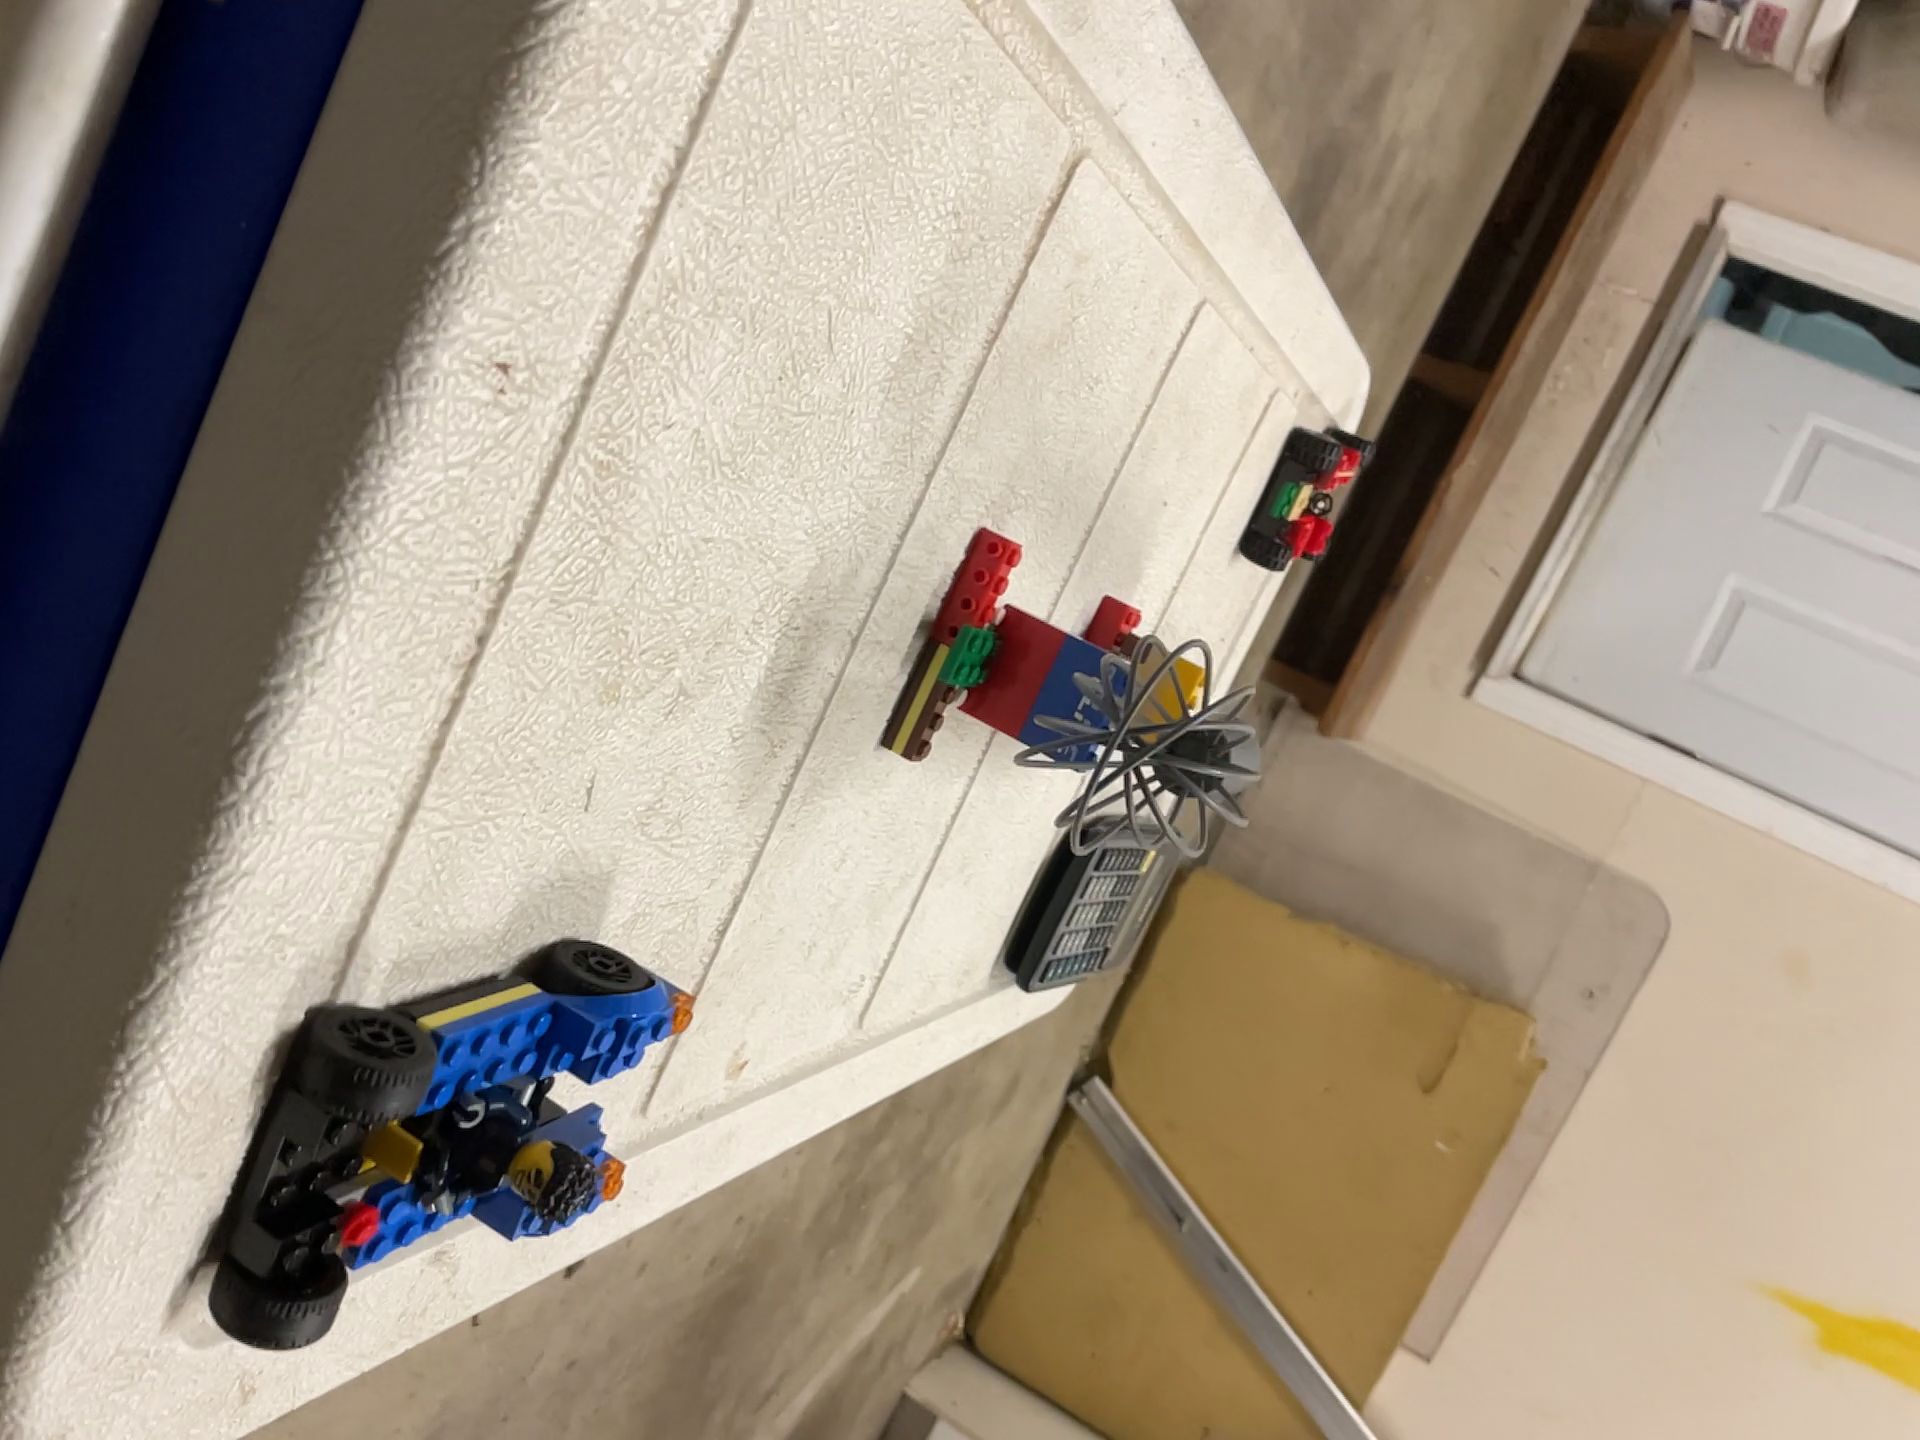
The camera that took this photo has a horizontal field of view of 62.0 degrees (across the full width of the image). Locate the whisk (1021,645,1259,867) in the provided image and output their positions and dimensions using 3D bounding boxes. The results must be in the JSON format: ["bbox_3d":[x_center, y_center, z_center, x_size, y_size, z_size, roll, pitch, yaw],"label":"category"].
[{"bbox_3d":[0.062,0.011,0.451,0.055,0.055,0.239,-62,166,6],"label":"whisk"}]
